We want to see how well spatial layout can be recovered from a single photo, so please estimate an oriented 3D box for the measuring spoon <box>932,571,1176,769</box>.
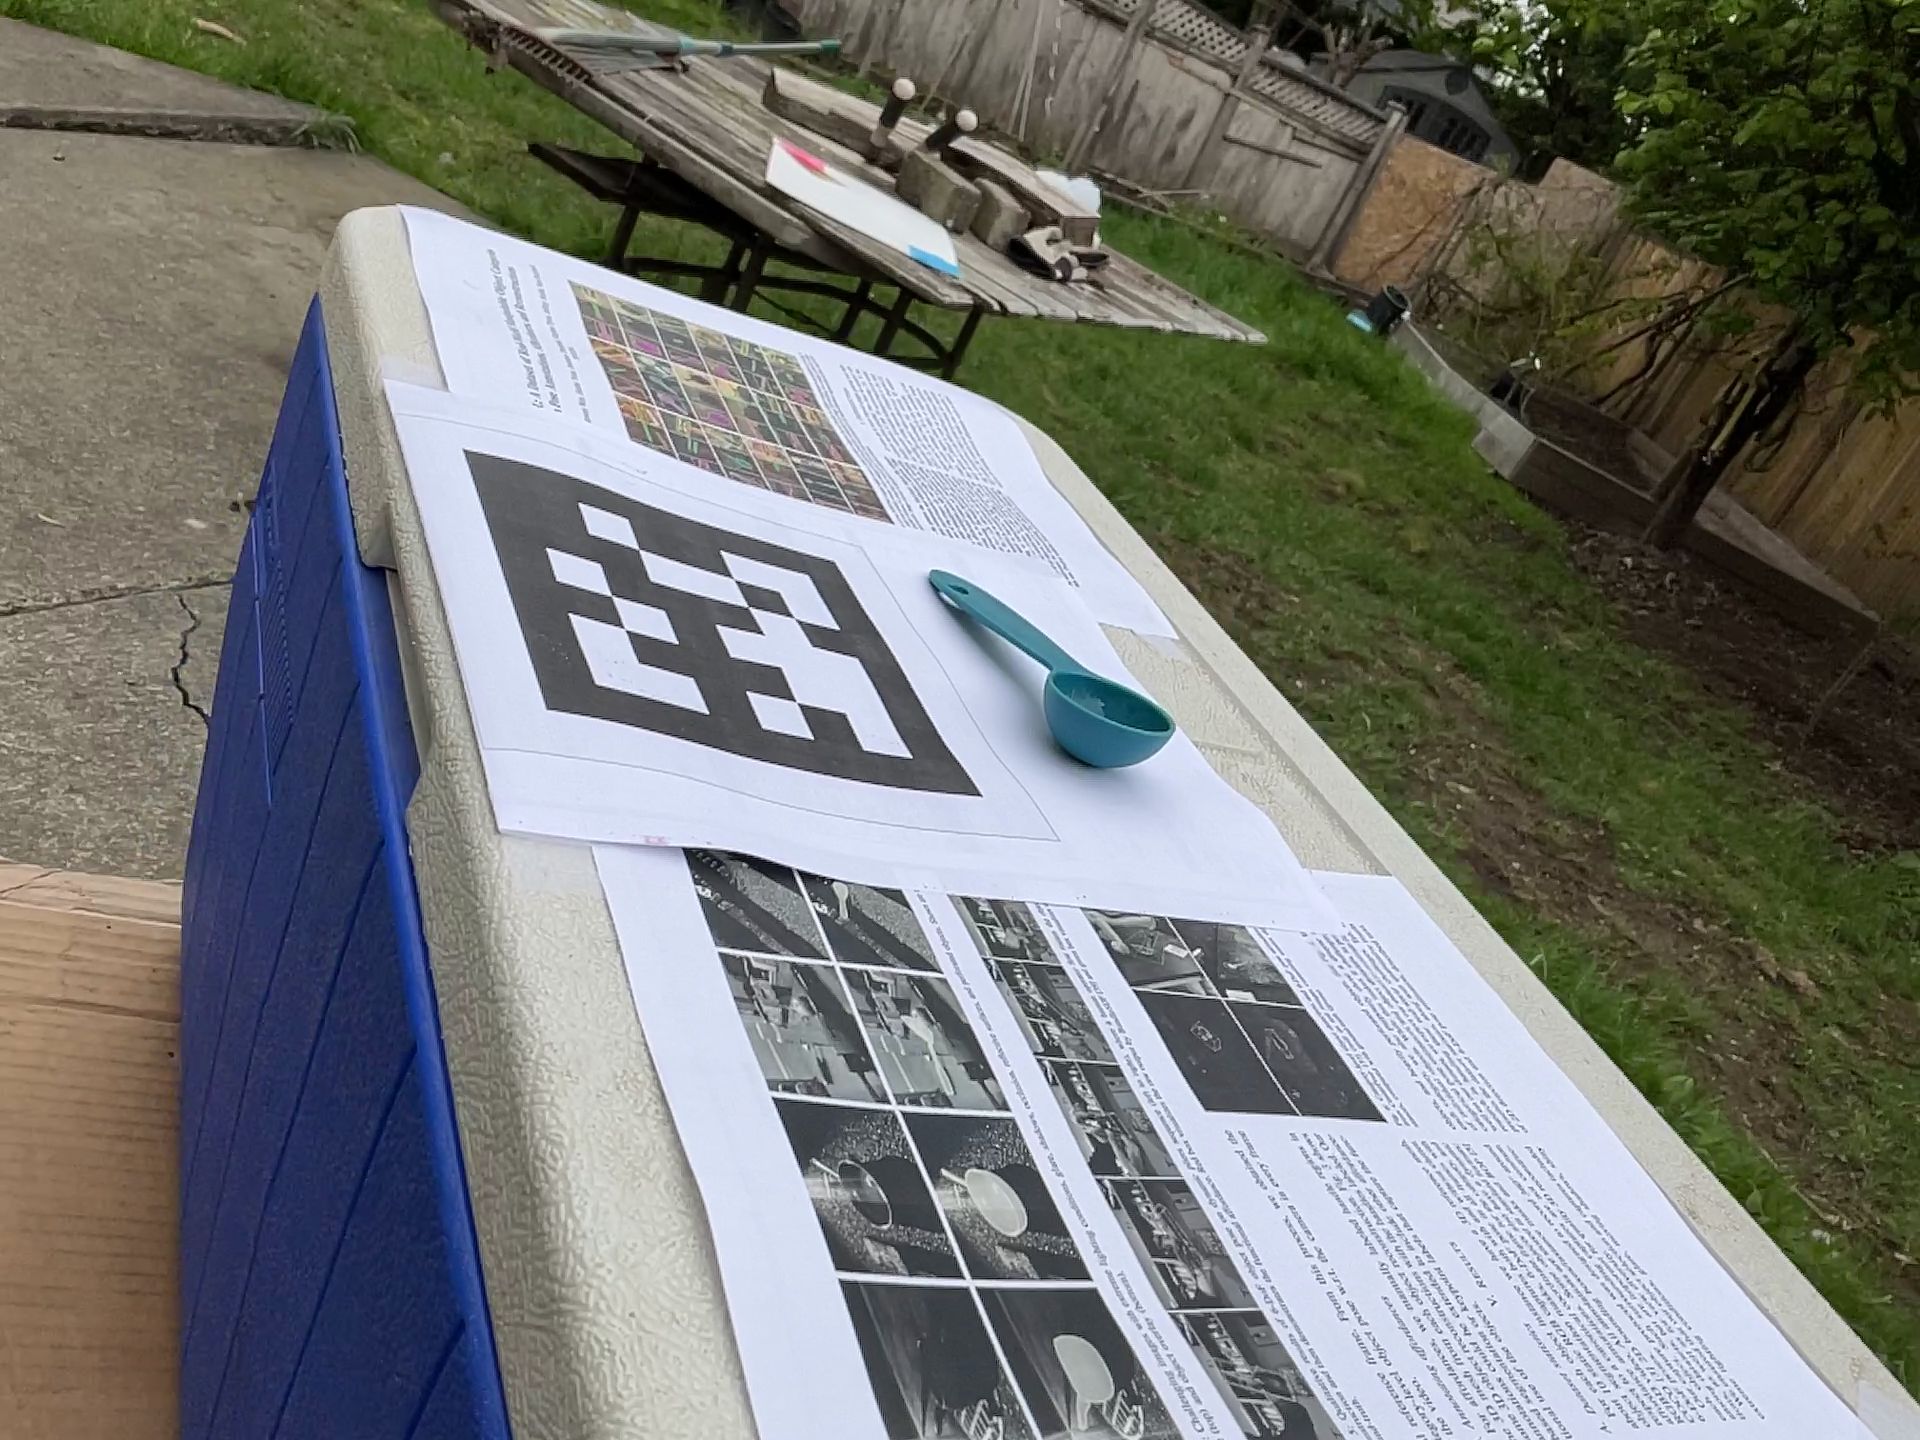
[{"bbox_3d":[0.022,-0.016,0.524,0.042,0.021,0.129,8,22,-36],"label":"measuring spoon"}]
